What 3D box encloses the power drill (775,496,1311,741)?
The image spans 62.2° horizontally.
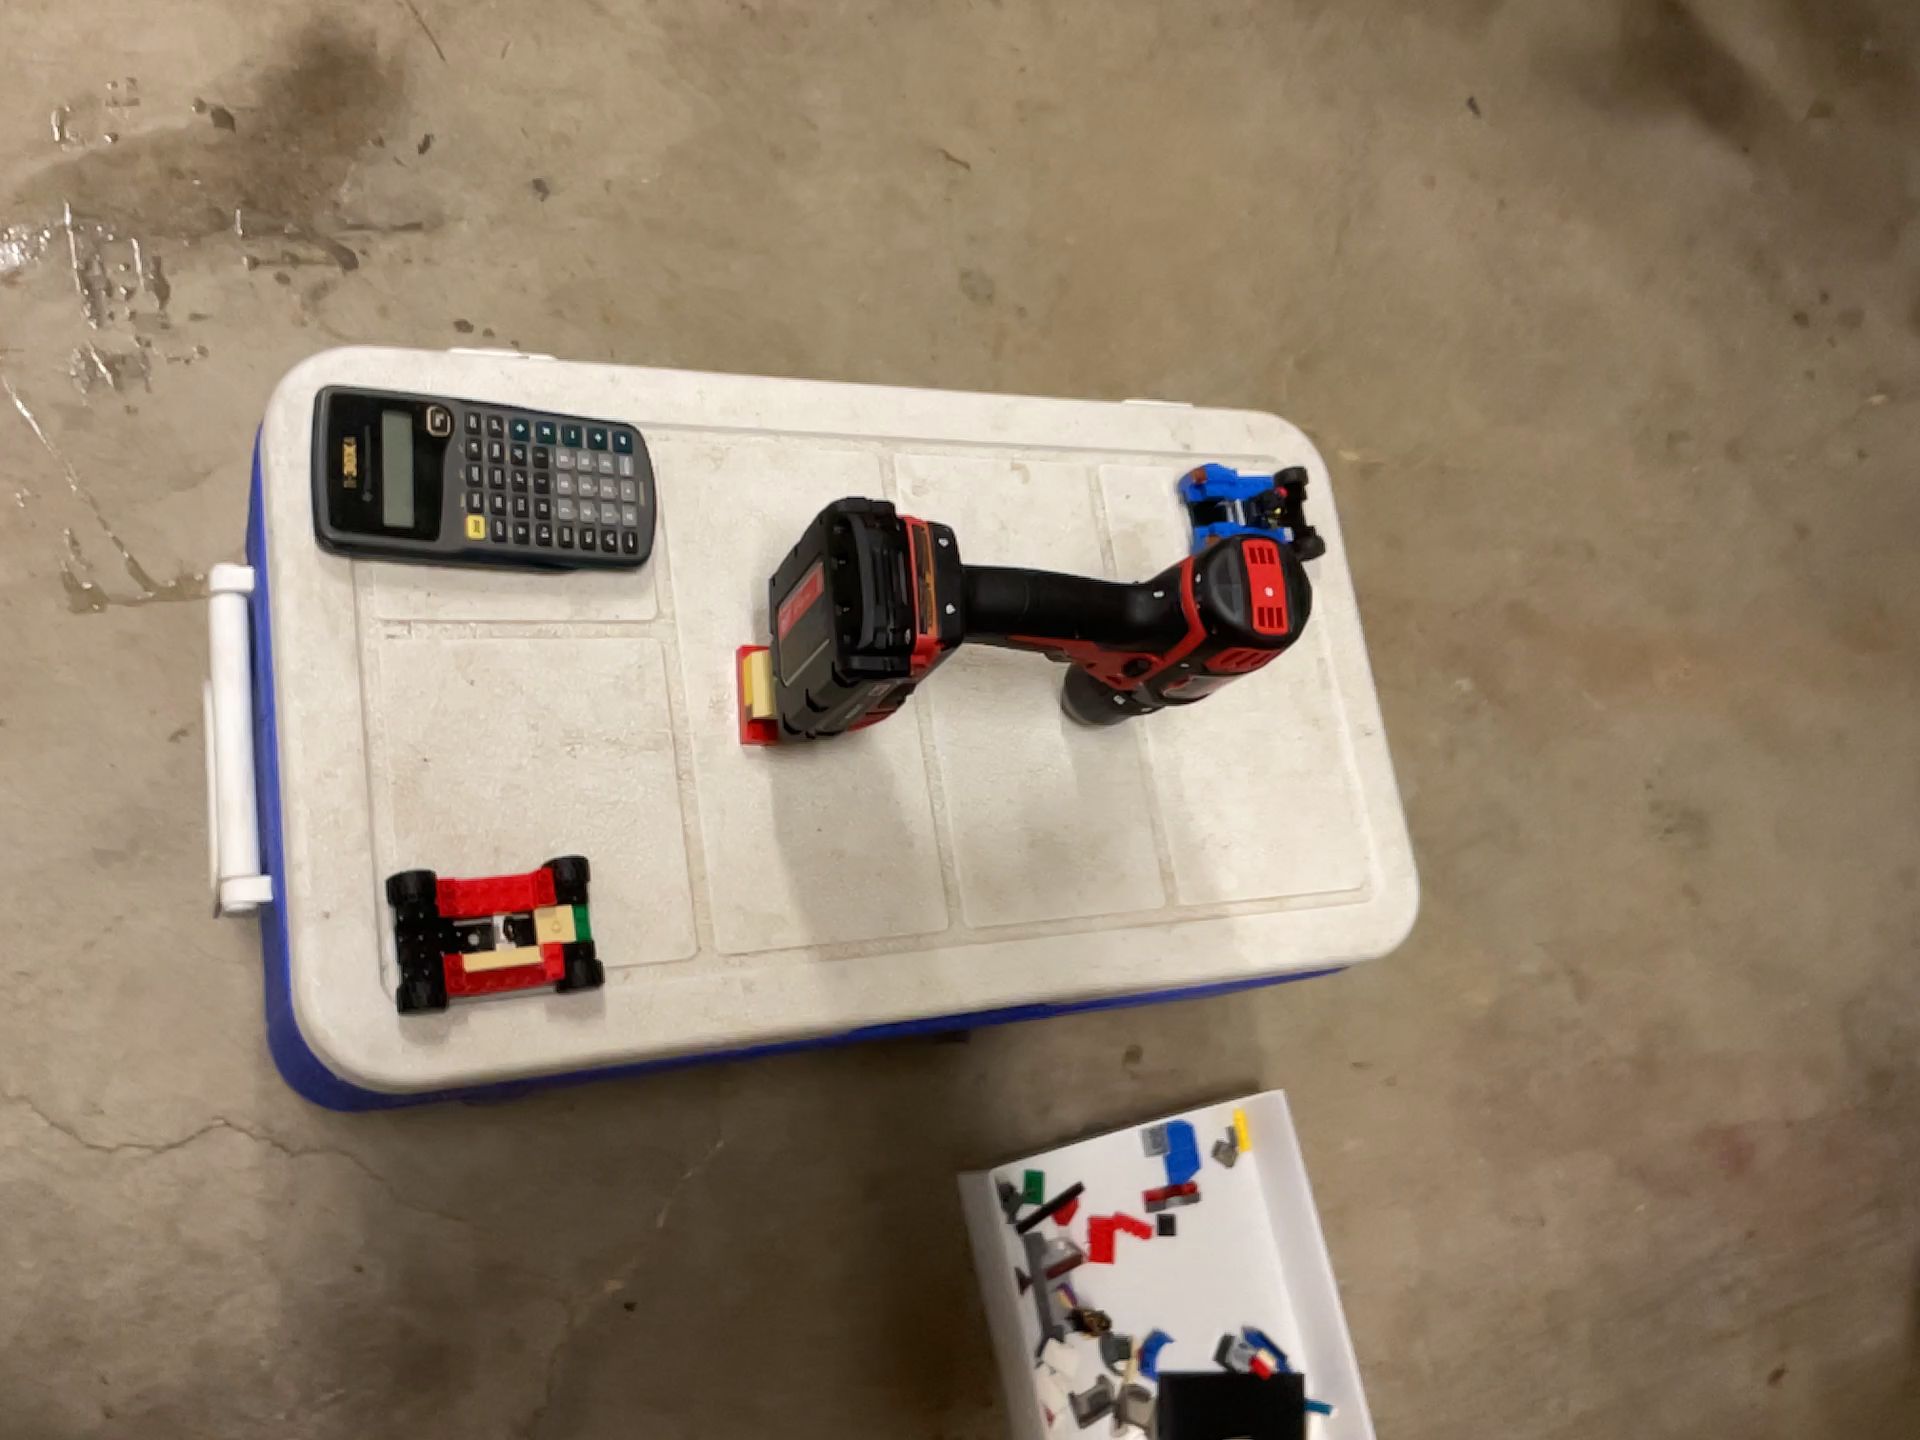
[{"bbox_3d":[0.029,-0.035,0.761,0.227,0.187,0.080,1,73,-22],"label":"power drill"}]
